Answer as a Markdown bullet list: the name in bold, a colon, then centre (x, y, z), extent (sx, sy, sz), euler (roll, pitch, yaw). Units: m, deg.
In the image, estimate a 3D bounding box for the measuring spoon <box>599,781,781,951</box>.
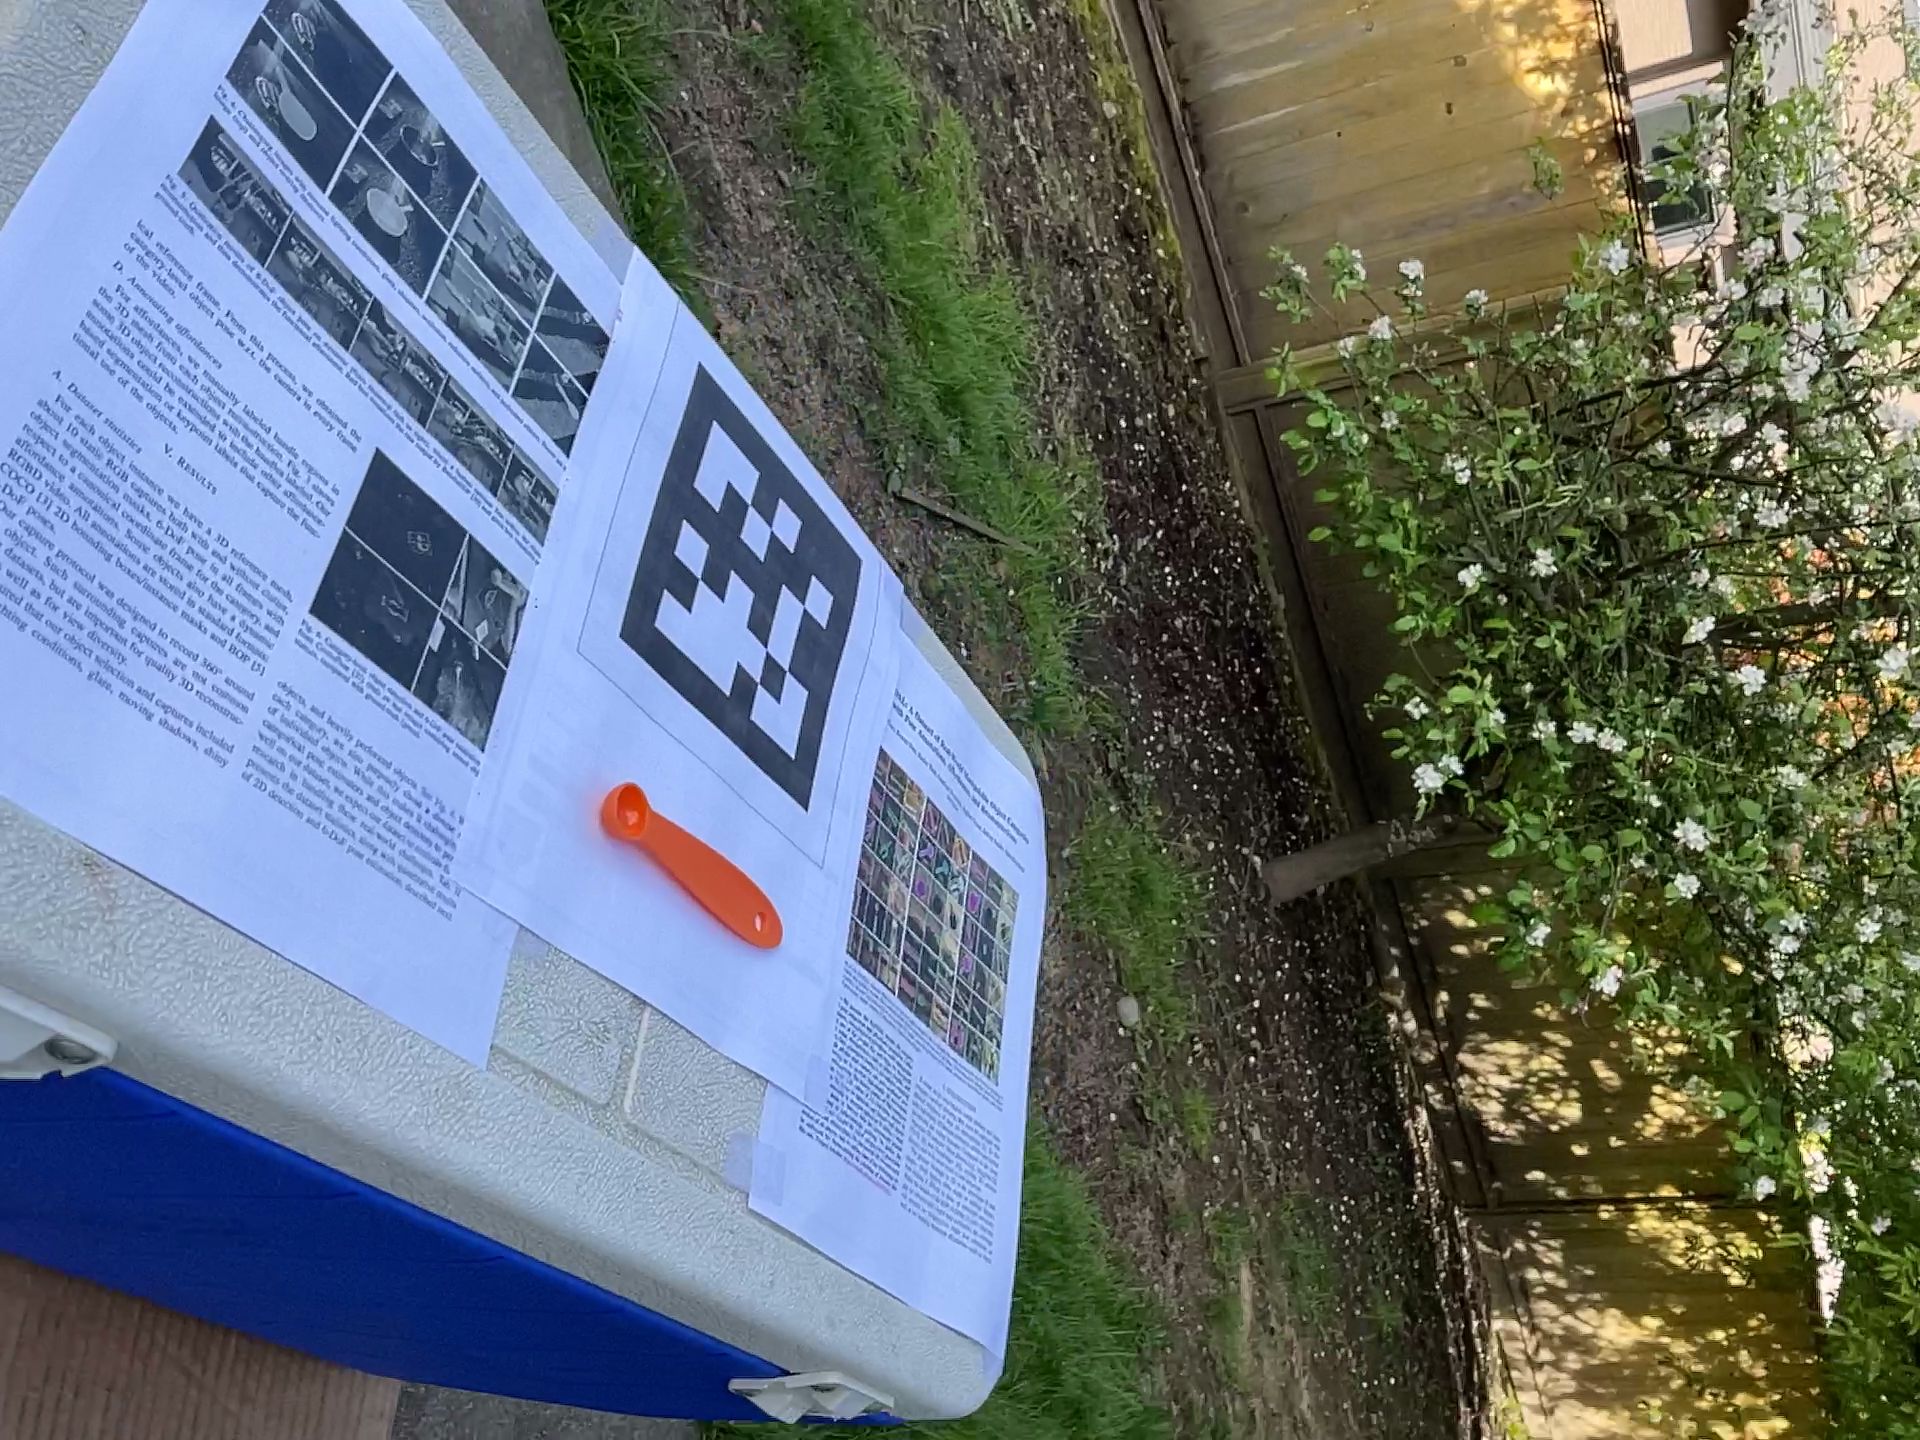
- **measuring spoon**: centre (-0.093, 0.054, 0.558), extent (0.116, 0.011, 0.021), euler (53, 36, -52)
